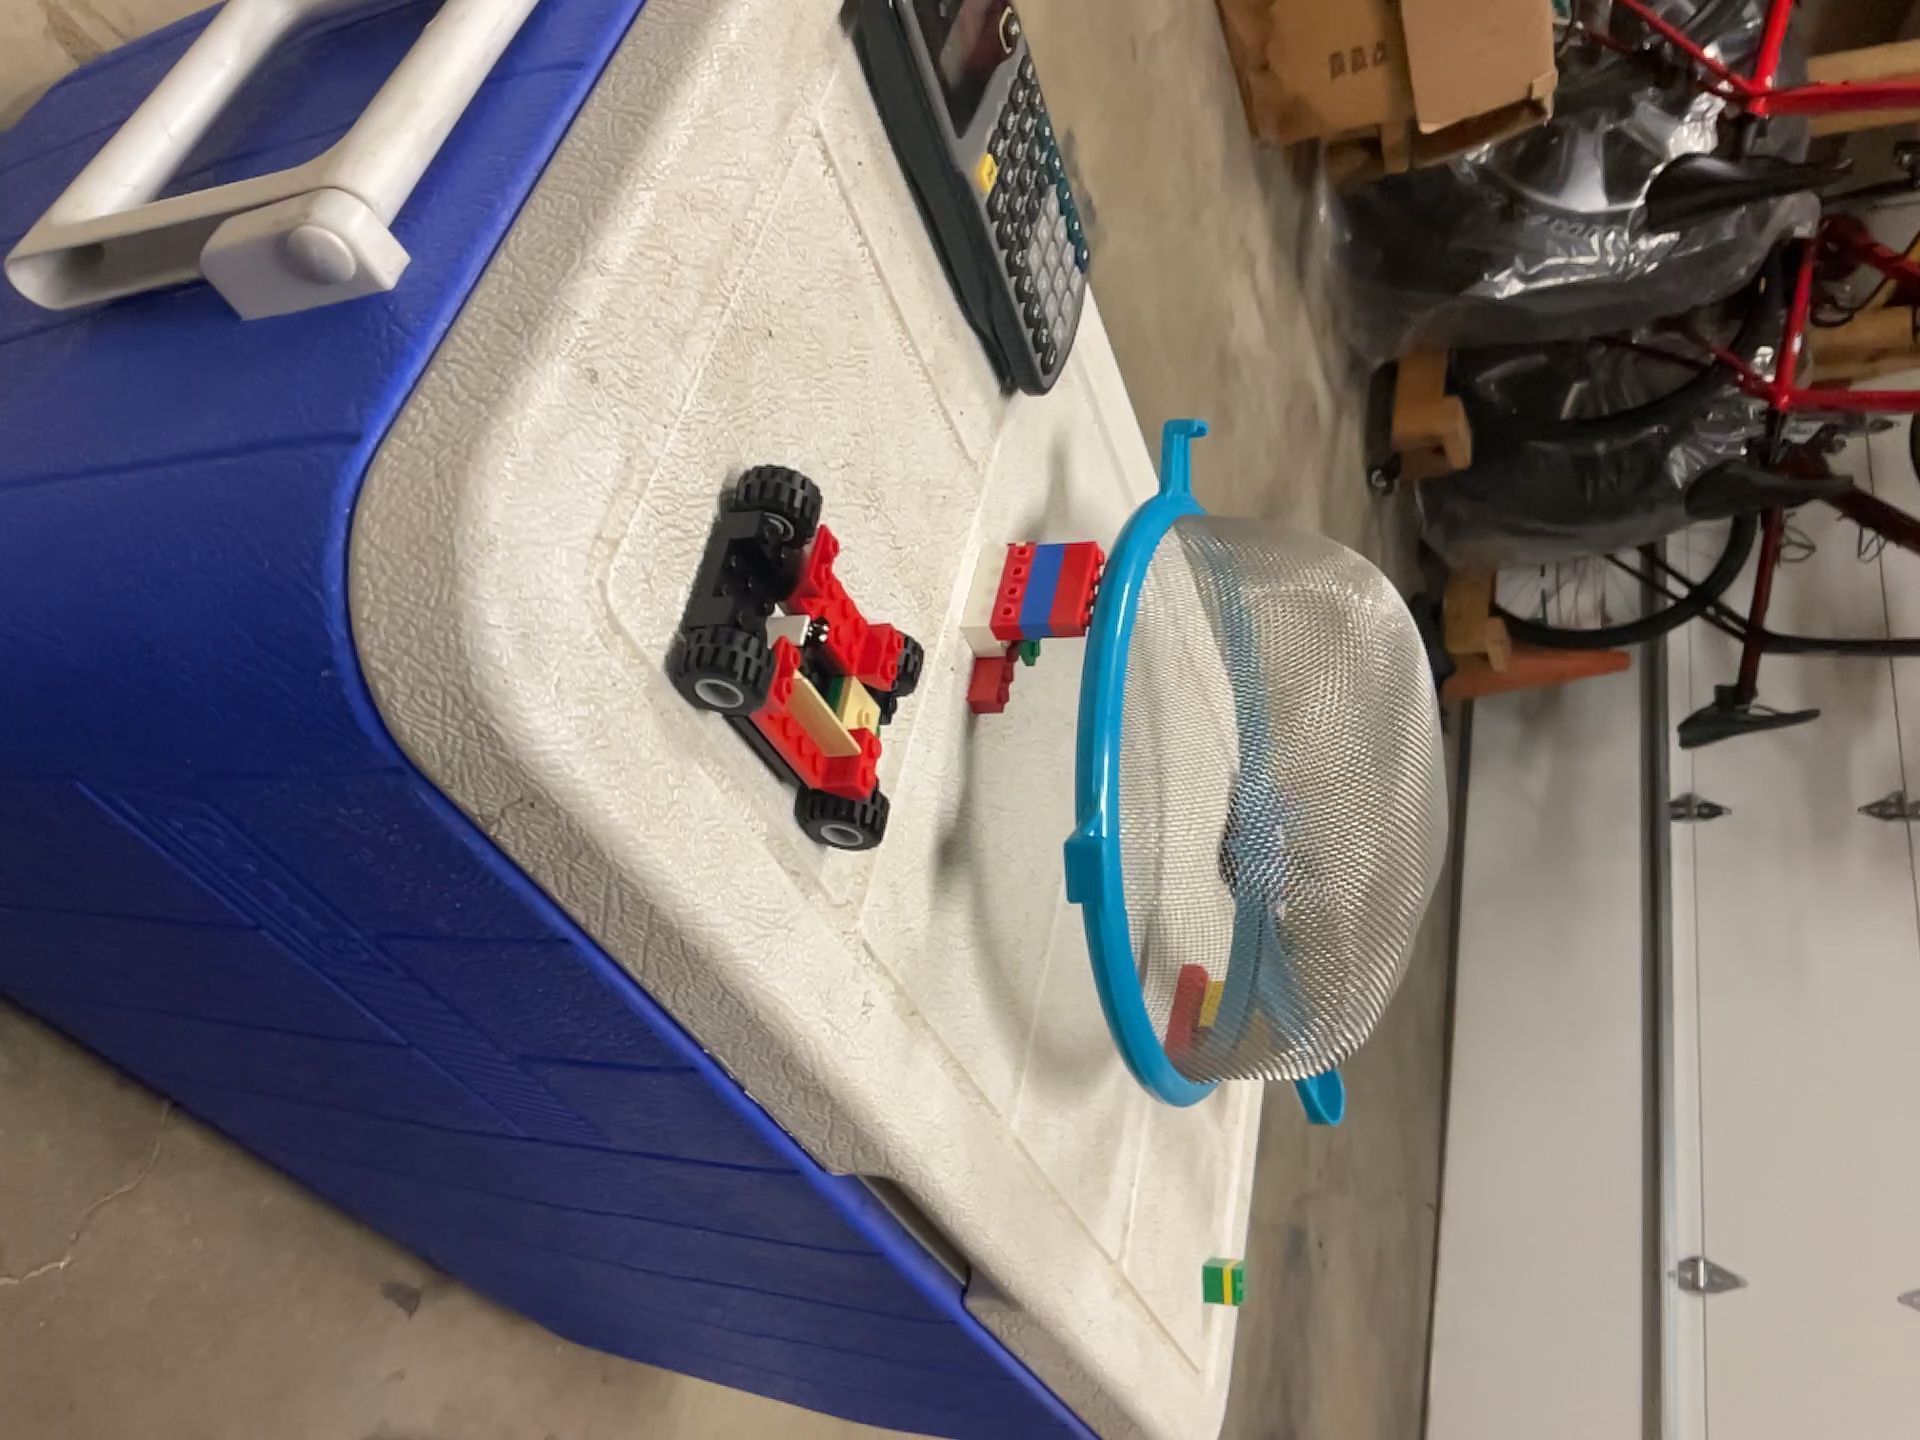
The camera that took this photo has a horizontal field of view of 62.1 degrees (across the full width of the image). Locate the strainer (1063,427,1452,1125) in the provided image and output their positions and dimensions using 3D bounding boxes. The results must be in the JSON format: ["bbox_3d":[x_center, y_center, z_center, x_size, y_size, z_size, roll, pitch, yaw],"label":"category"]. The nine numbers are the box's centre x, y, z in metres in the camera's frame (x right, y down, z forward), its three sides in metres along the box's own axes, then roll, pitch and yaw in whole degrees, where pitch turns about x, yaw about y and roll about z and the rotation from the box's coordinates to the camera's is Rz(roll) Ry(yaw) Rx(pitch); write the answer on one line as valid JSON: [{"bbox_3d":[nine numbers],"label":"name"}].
[{"bbox_3d":[0.138,0.067,0.585,0.340,0.095,0.211,61,36,-45],"label":"strainer"}]
